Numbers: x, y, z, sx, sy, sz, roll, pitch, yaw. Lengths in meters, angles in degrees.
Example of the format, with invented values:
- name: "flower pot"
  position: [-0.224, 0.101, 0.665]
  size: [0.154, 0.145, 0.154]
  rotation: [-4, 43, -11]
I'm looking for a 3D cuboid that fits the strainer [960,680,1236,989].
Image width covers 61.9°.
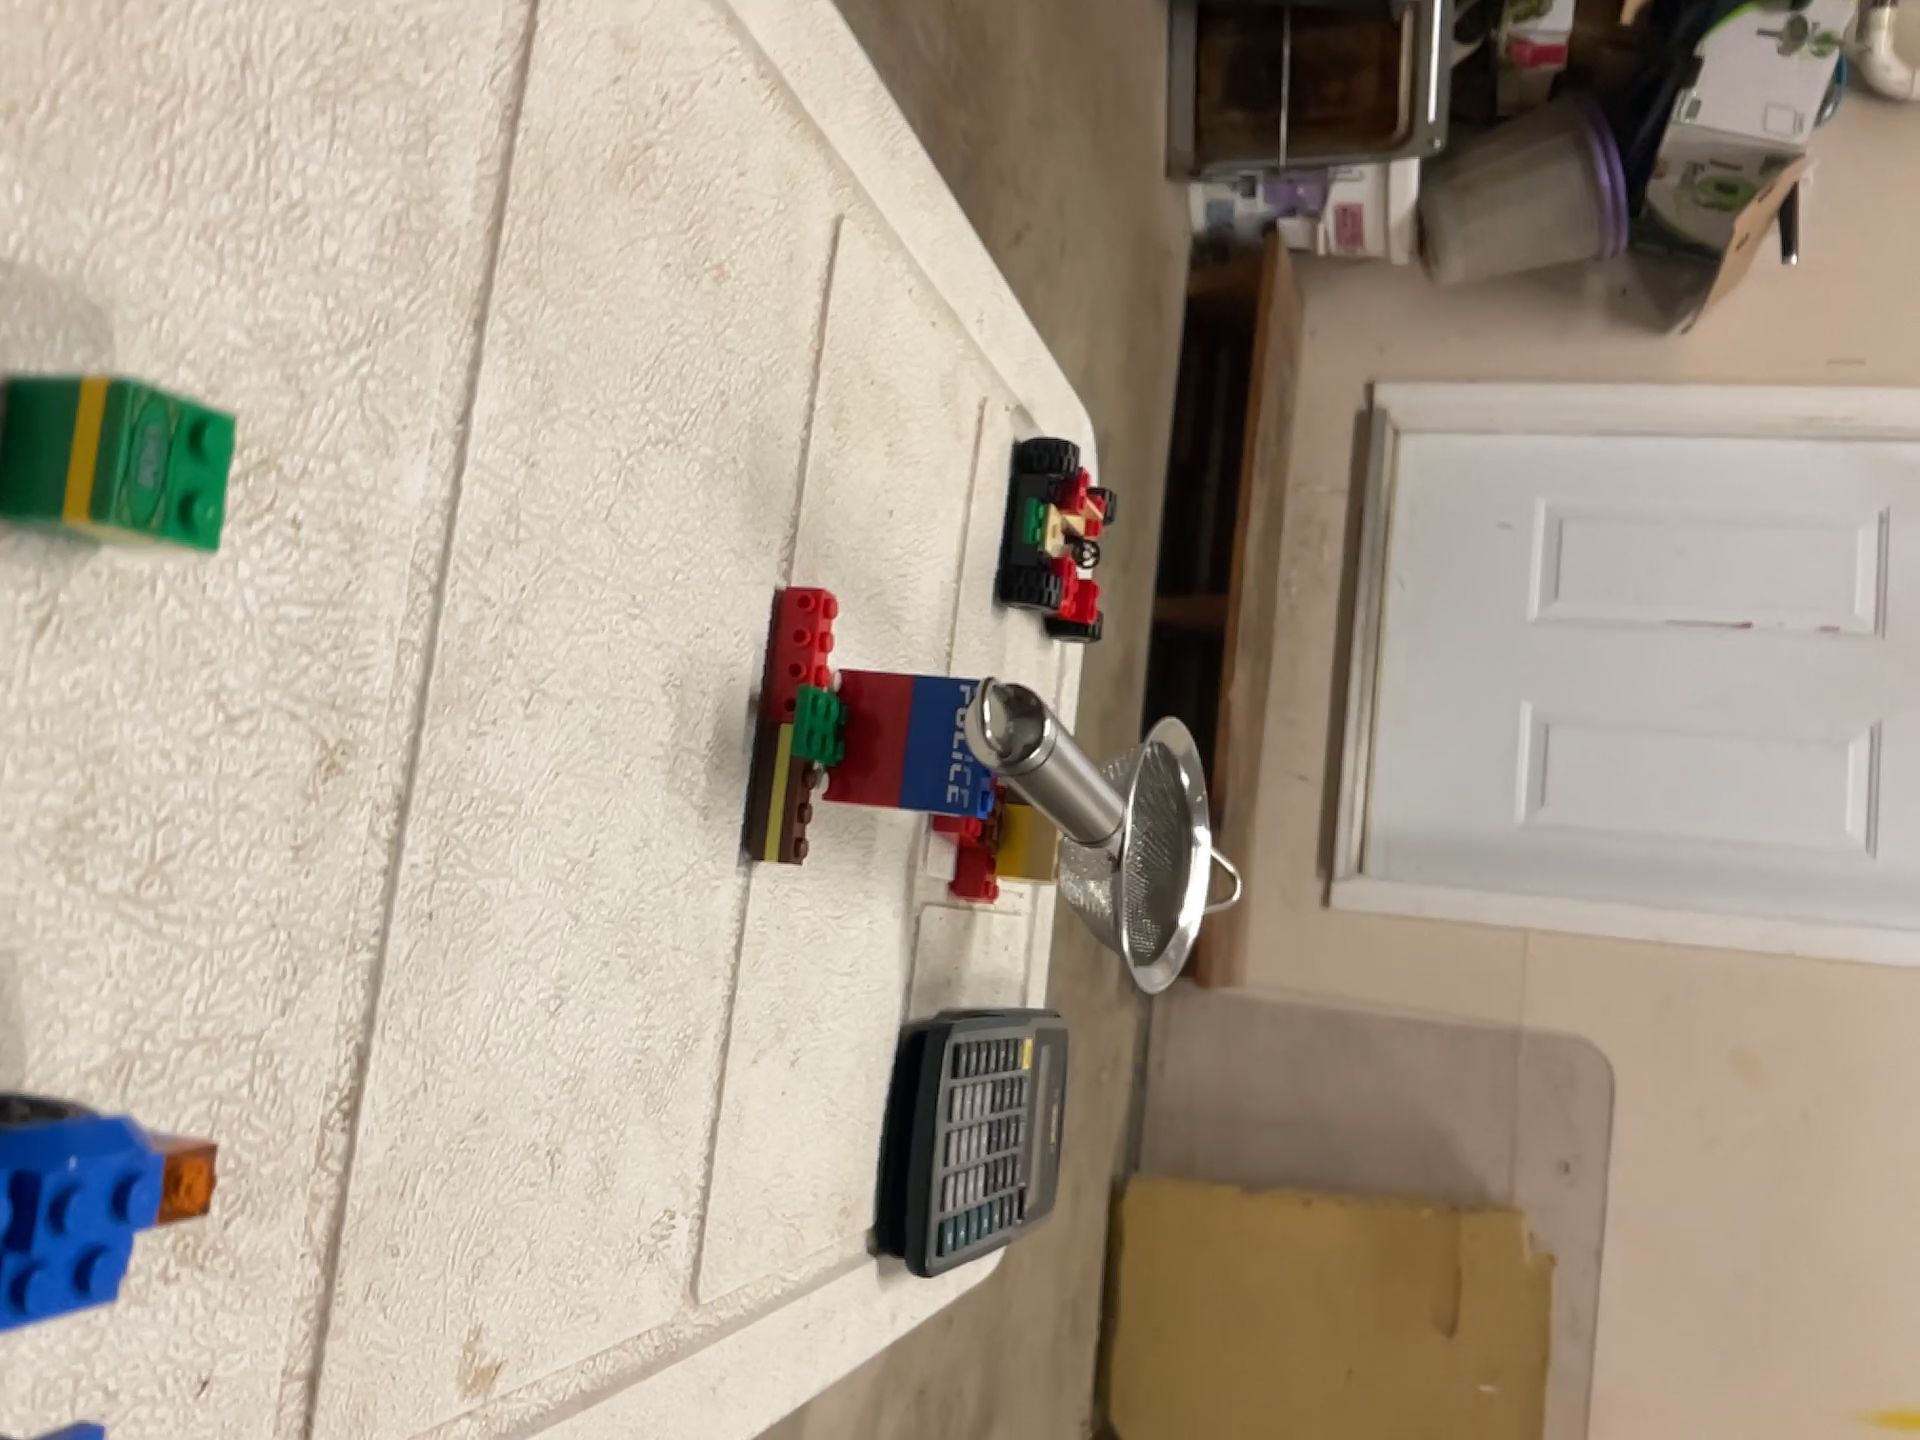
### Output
- name: "strainer"
  position: [0.037, 0.025, 0.446]
  size: [0.258, 0.050, 0.087]
  rotation: [40, 55, -69]
